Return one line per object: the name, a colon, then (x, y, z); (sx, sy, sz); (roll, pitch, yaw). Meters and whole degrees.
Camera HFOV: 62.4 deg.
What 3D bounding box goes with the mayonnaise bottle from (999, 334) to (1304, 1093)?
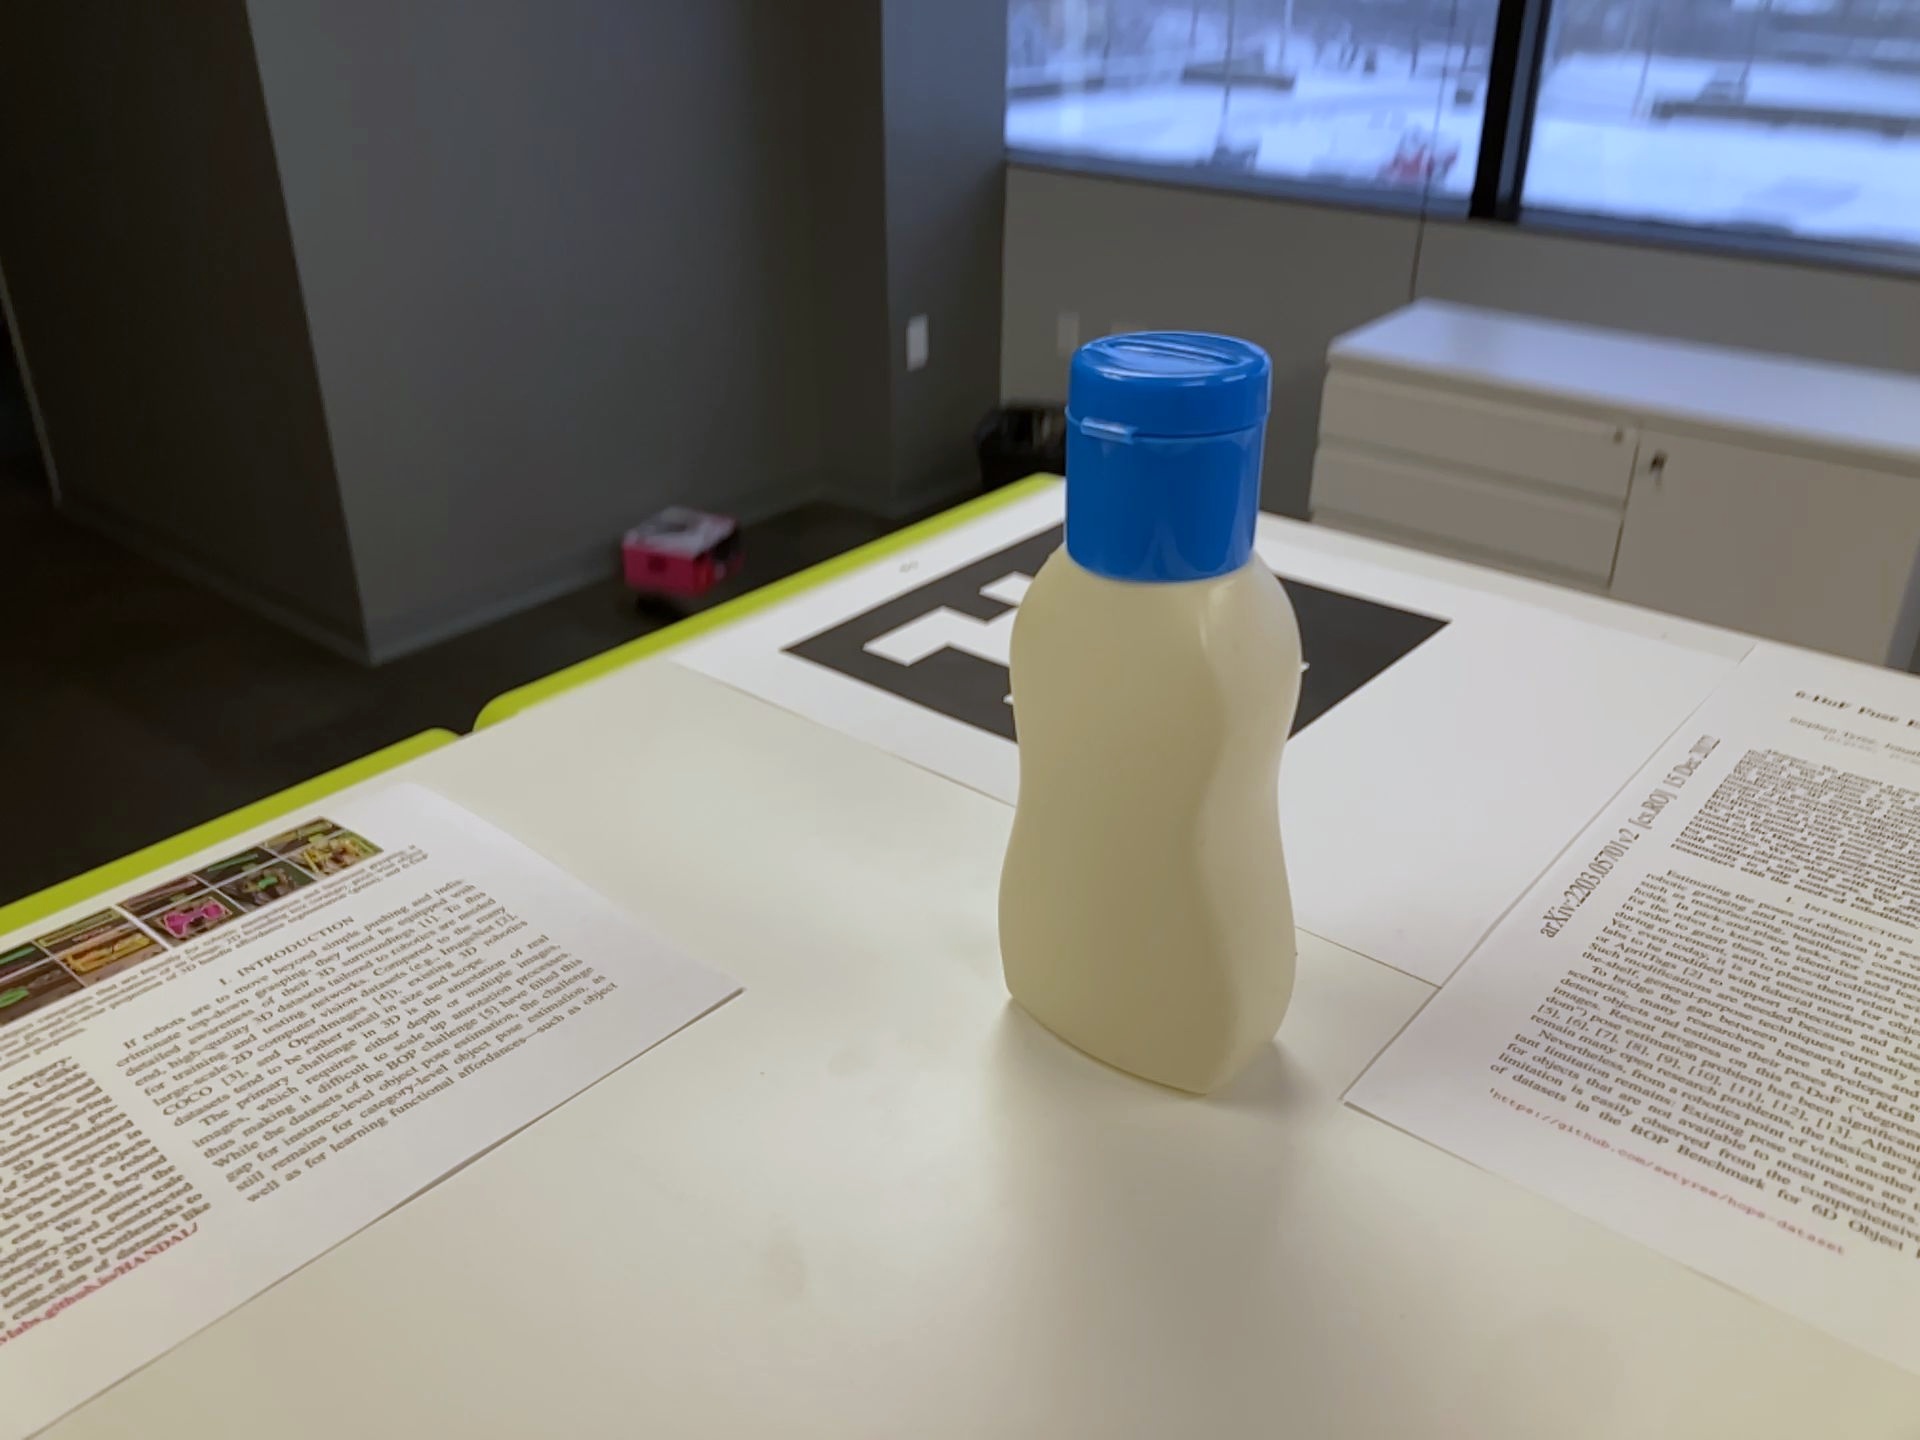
mayonnaise bottle: (0.039, 0.000, 0.317); (0.065, 0.148, 0.041); (21, 34, 35)
